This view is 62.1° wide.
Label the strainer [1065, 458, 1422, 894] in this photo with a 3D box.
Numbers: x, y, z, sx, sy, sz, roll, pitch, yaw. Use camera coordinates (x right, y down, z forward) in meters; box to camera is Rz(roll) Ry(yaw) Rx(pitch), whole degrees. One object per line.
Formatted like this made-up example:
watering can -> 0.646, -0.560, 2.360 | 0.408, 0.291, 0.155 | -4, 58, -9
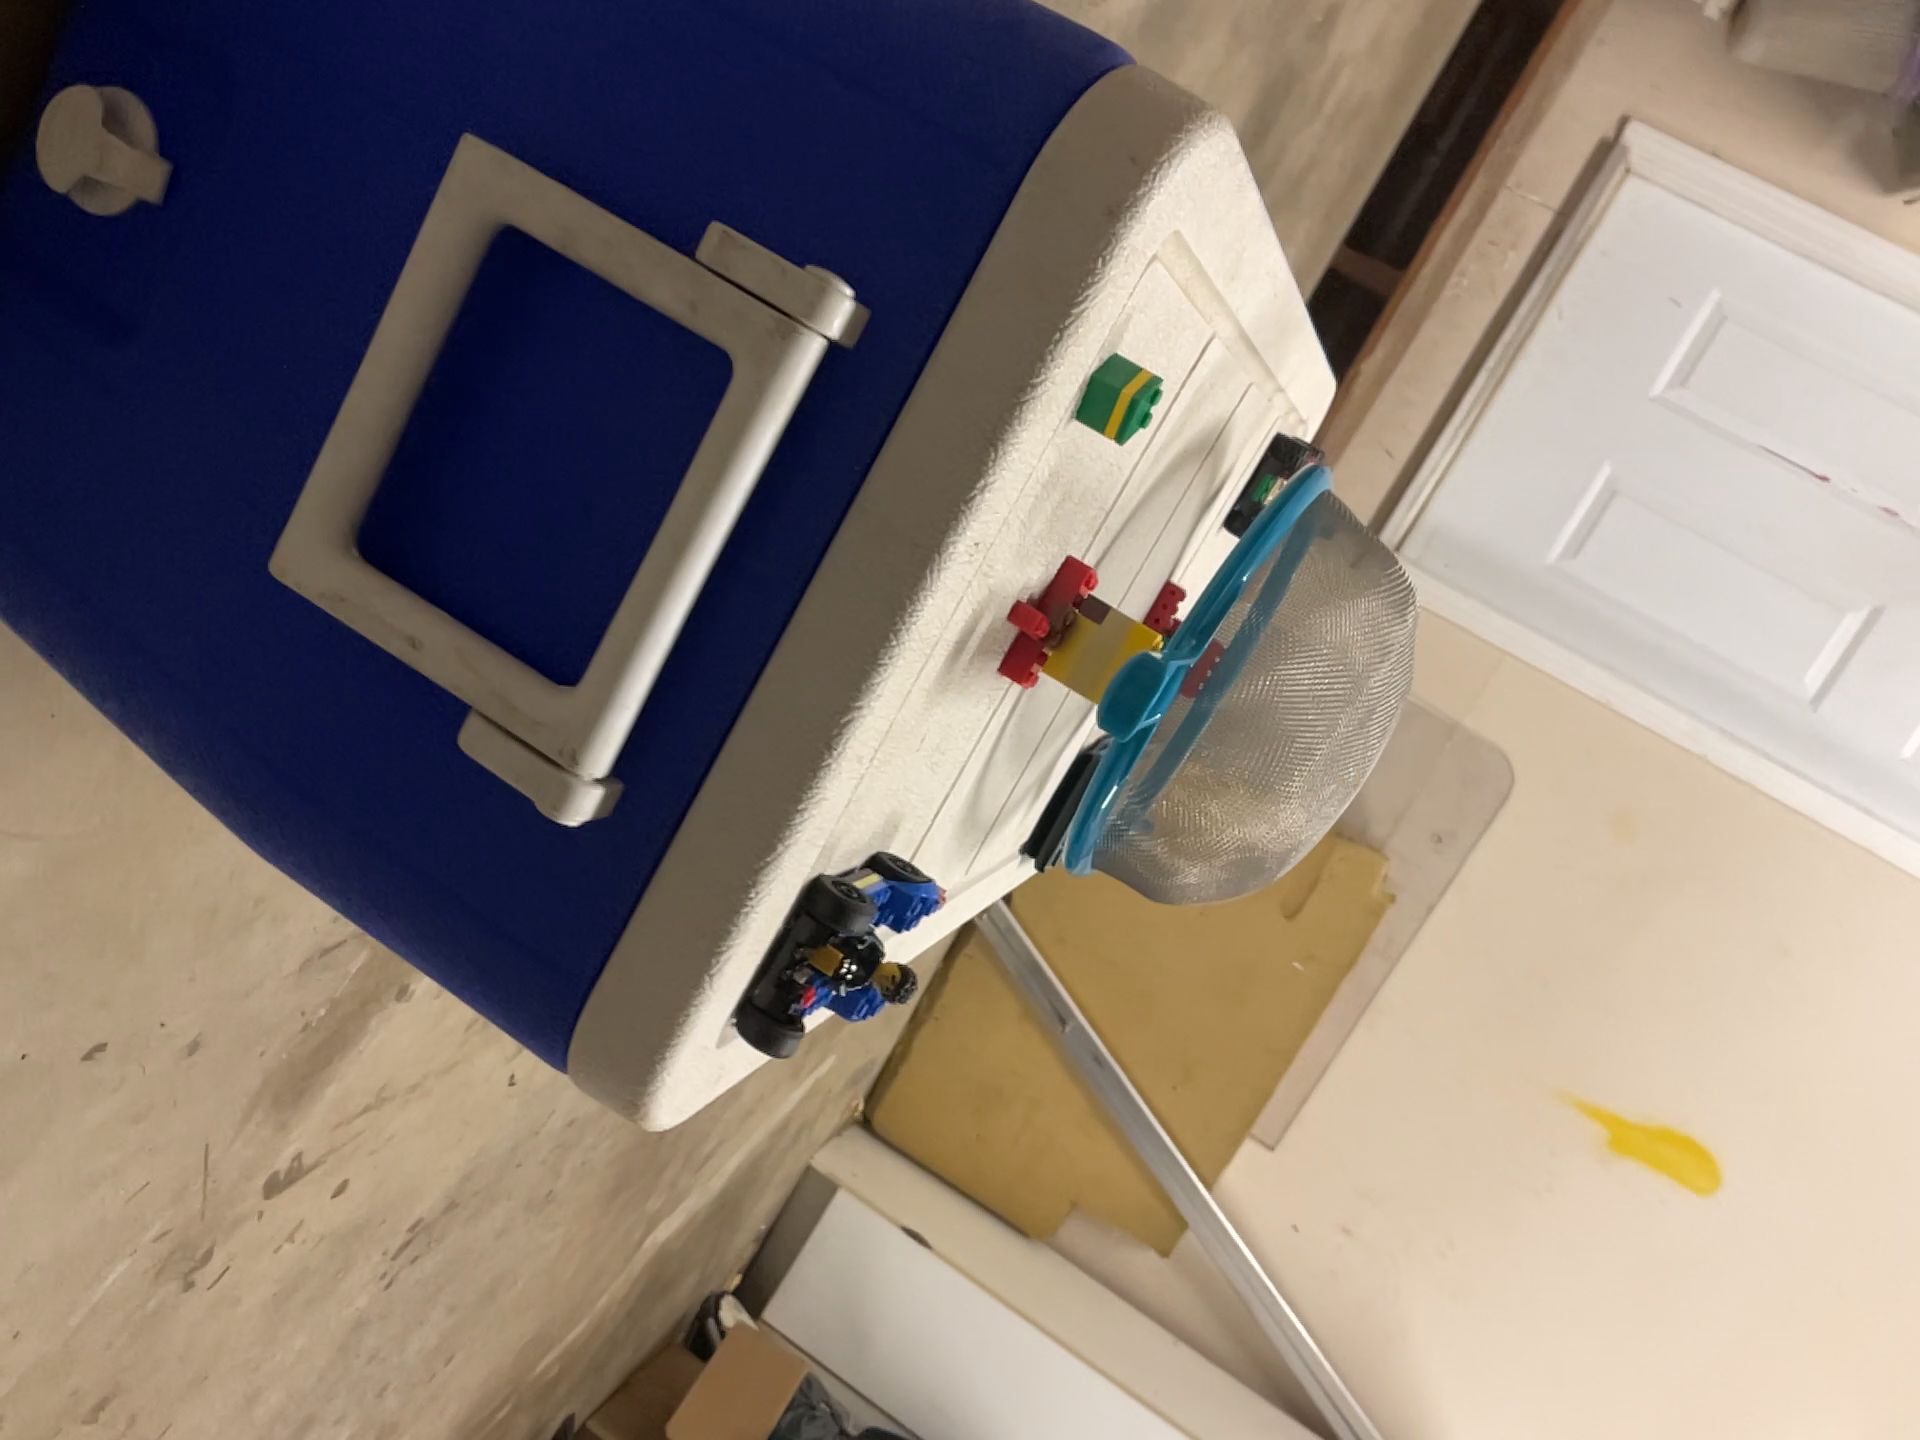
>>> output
strainer -> 0.123, 0.003, 0.635 | 0.211, 0.095, 0.340 | -60, 169, 10
